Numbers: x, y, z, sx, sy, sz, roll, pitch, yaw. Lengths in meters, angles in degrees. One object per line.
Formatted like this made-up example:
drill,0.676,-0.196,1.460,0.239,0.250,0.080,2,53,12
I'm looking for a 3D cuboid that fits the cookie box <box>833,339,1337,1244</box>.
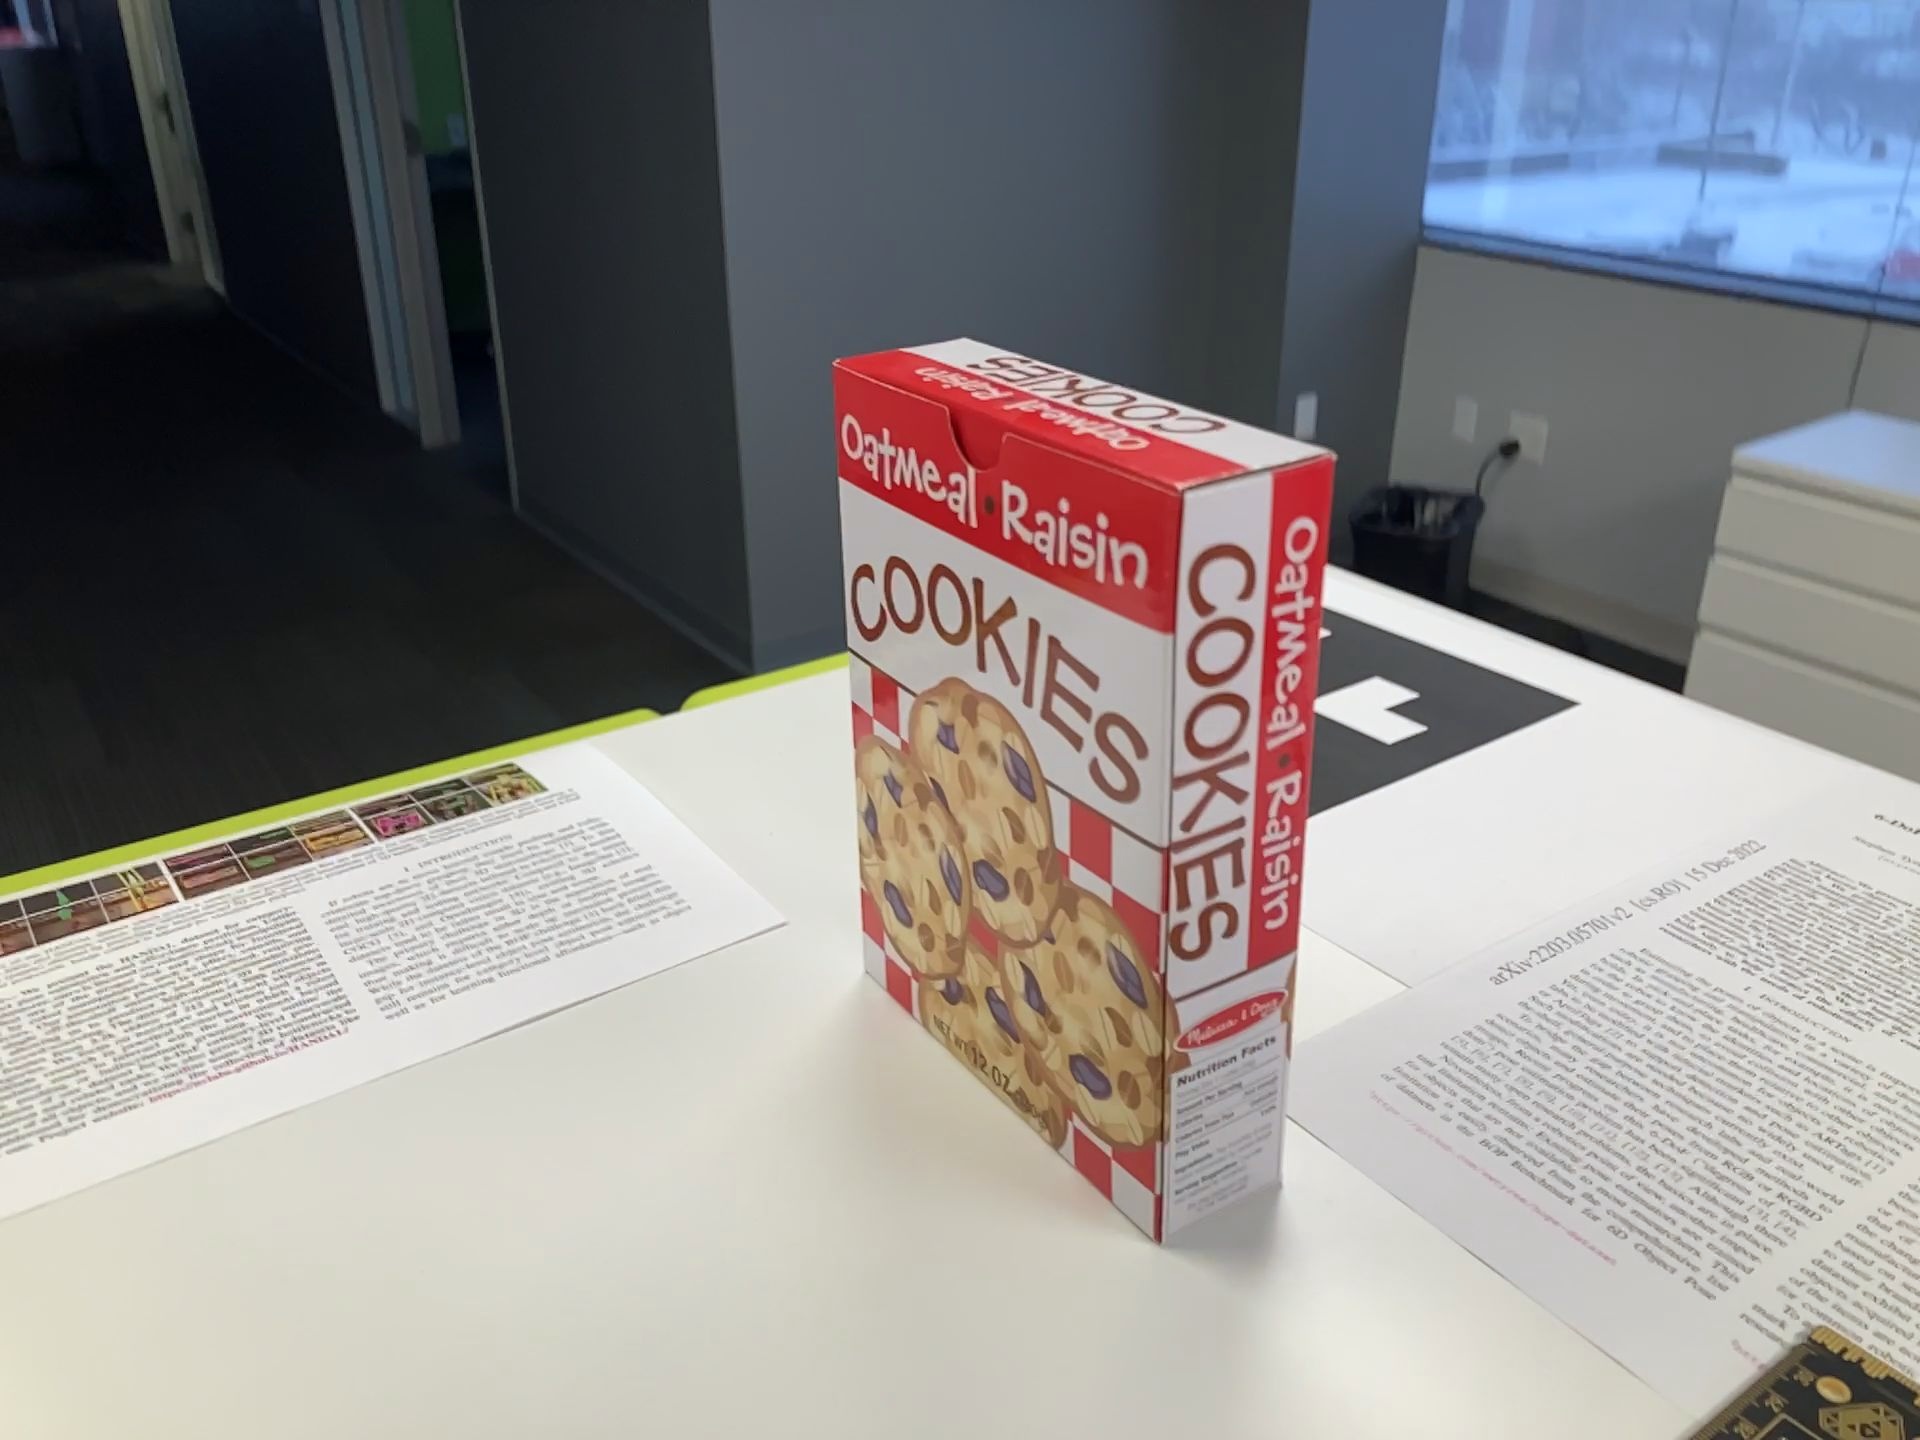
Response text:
cookie box,0.020,0.010,0.351,0.040,0.167,0.123,-16,29,-29
